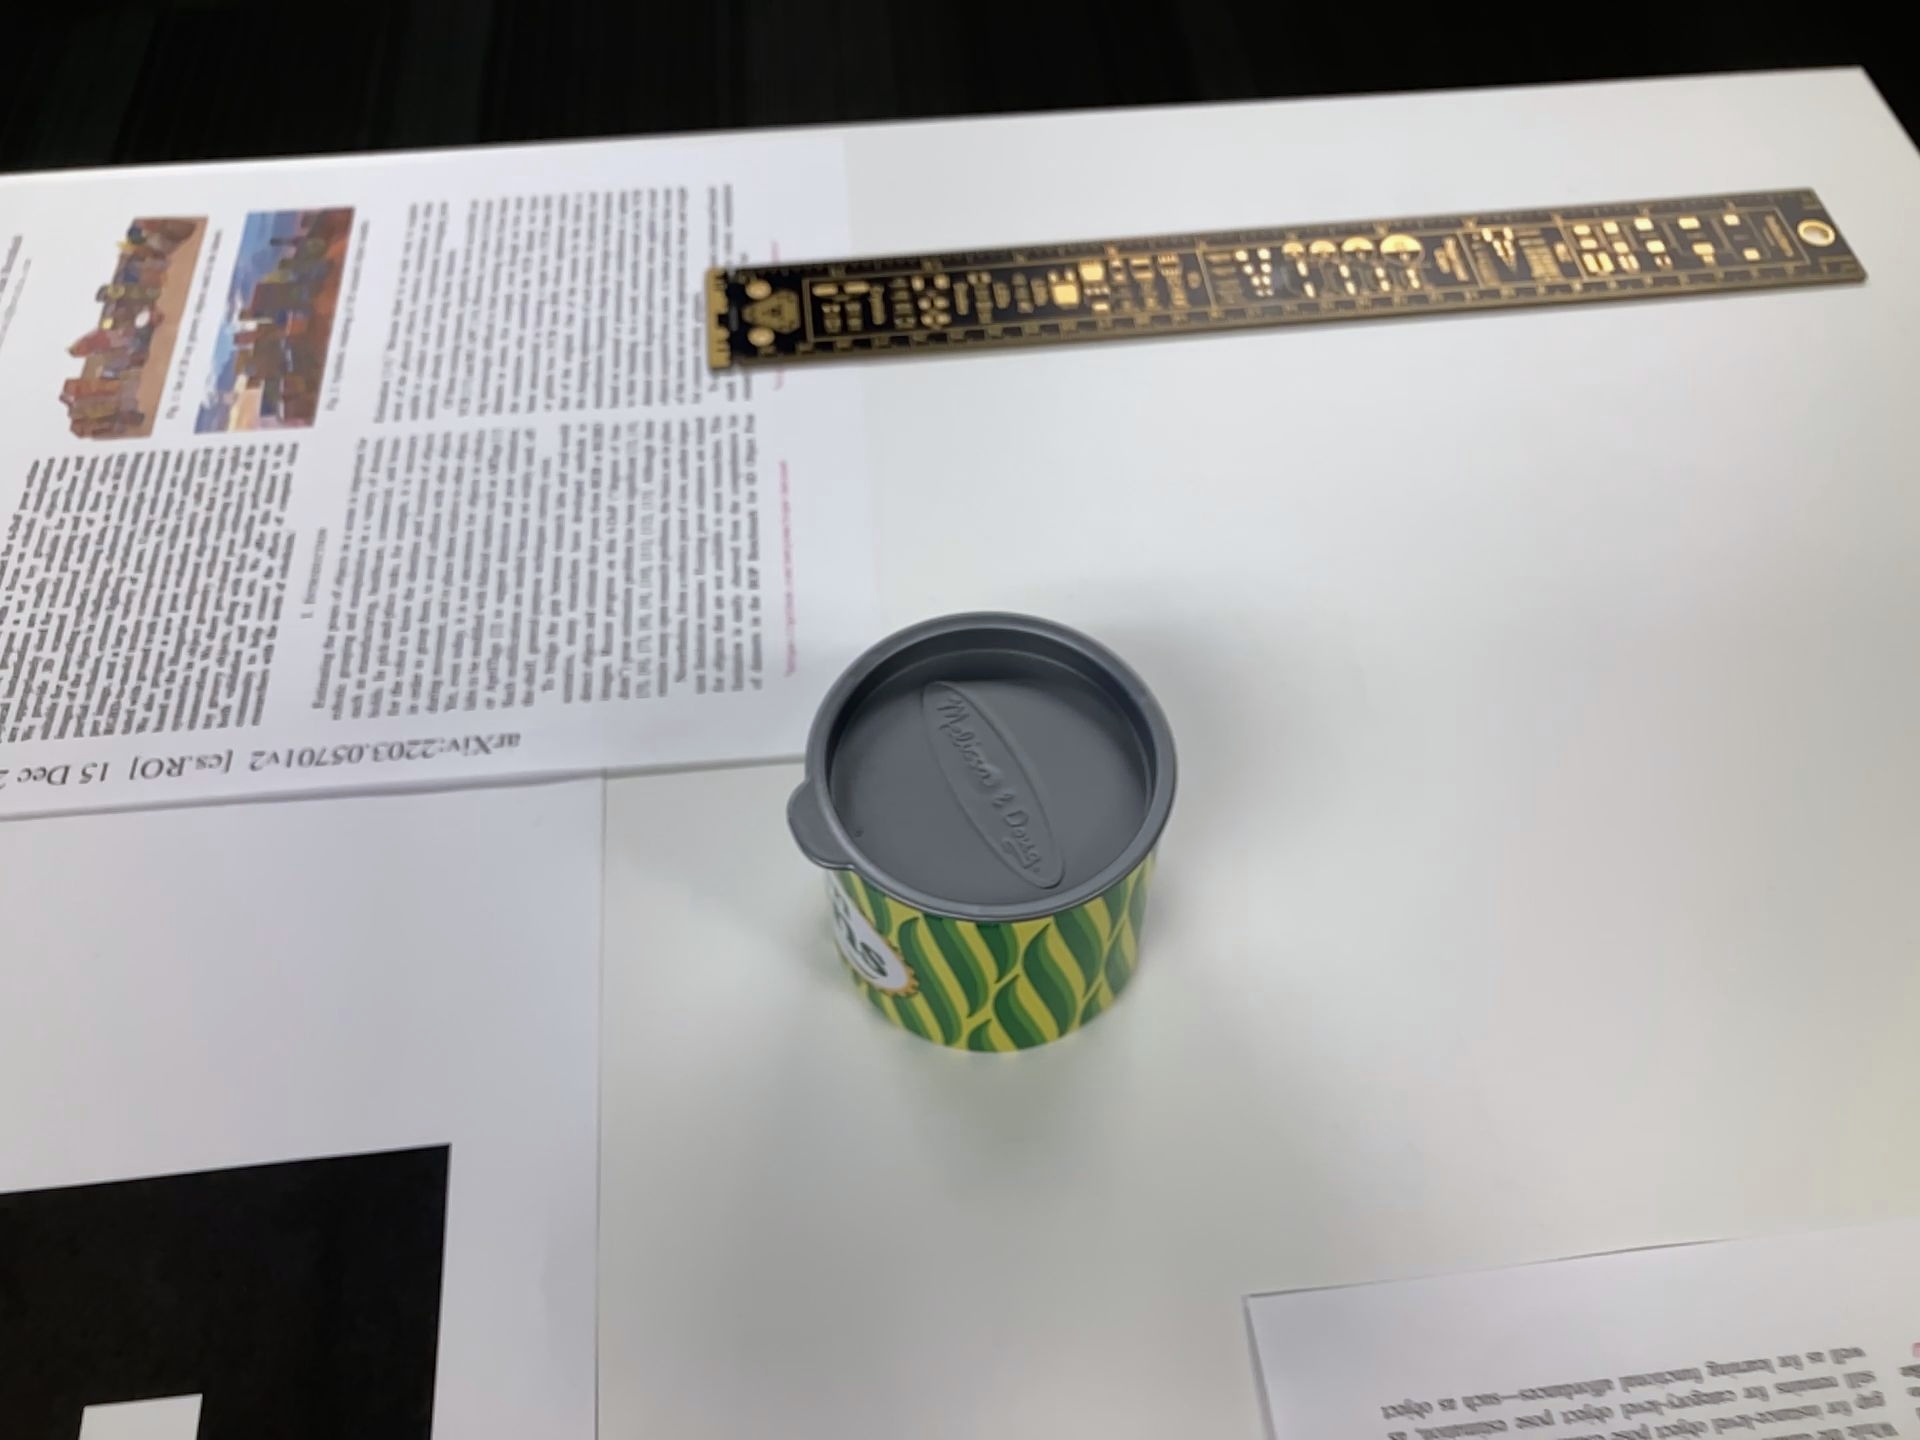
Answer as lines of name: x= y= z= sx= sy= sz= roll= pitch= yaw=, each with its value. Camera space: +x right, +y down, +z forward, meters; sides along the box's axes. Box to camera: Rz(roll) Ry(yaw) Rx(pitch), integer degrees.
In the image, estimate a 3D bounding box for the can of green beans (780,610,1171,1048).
can of green beans: x=0.004 y=0.022 z=0.310 sx=0.071 sy=0.058 sz=0.071 roll=0 pitch=55 yaw=0
